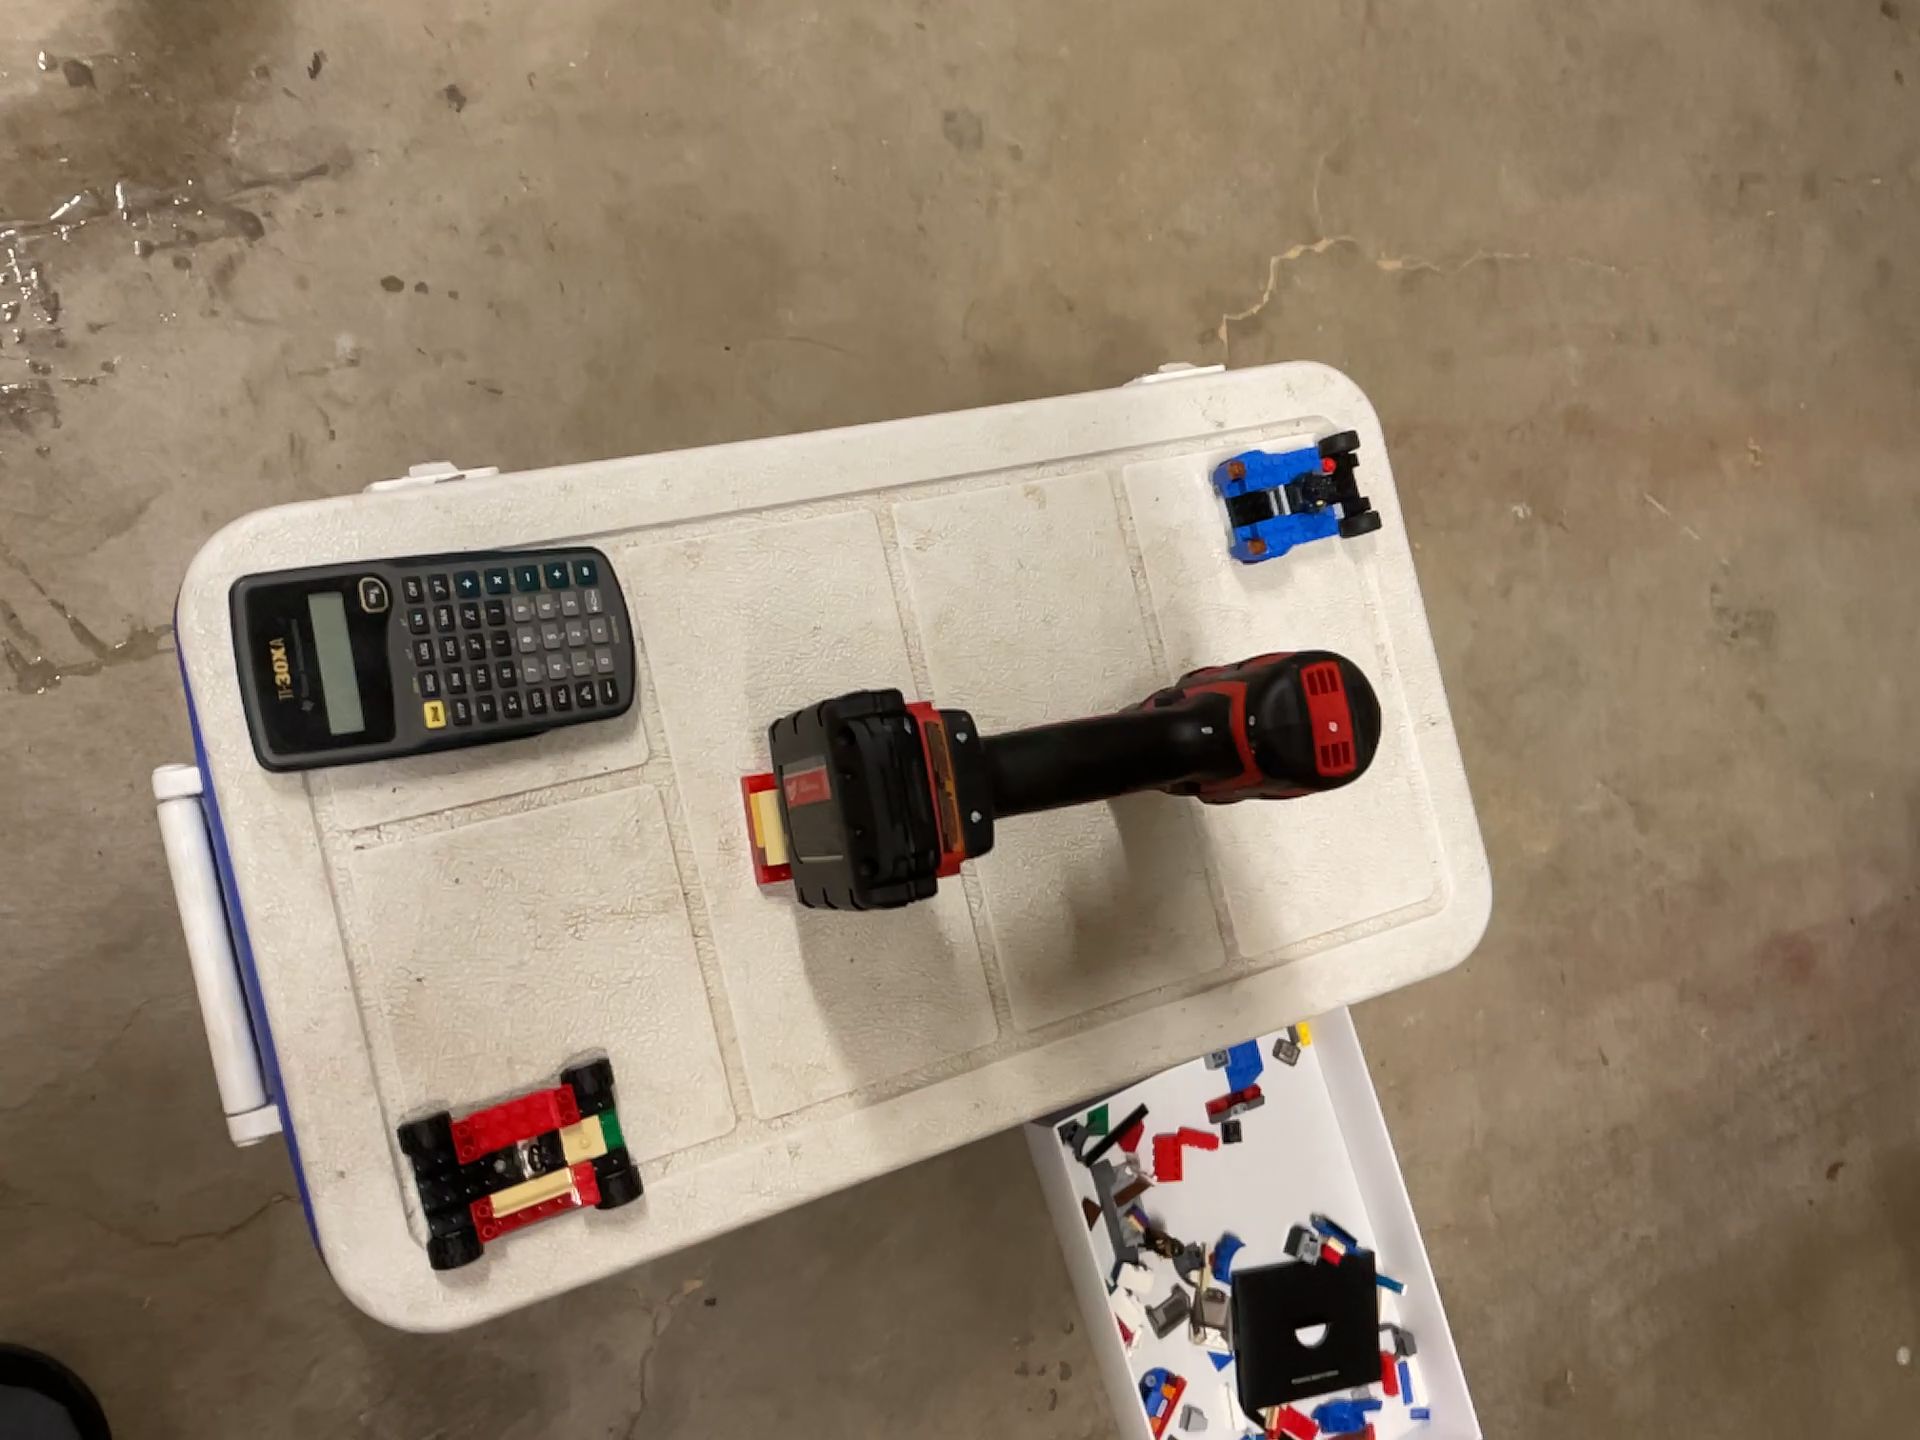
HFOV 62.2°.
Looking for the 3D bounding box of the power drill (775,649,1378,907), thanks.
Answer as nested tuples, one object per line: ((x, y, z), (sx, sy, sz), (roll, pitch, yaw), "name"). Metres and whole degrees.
((0.040, 0.020, 0.686), (0.227, 0.187, 0.080), (-9, 87, -20), "power drill")
